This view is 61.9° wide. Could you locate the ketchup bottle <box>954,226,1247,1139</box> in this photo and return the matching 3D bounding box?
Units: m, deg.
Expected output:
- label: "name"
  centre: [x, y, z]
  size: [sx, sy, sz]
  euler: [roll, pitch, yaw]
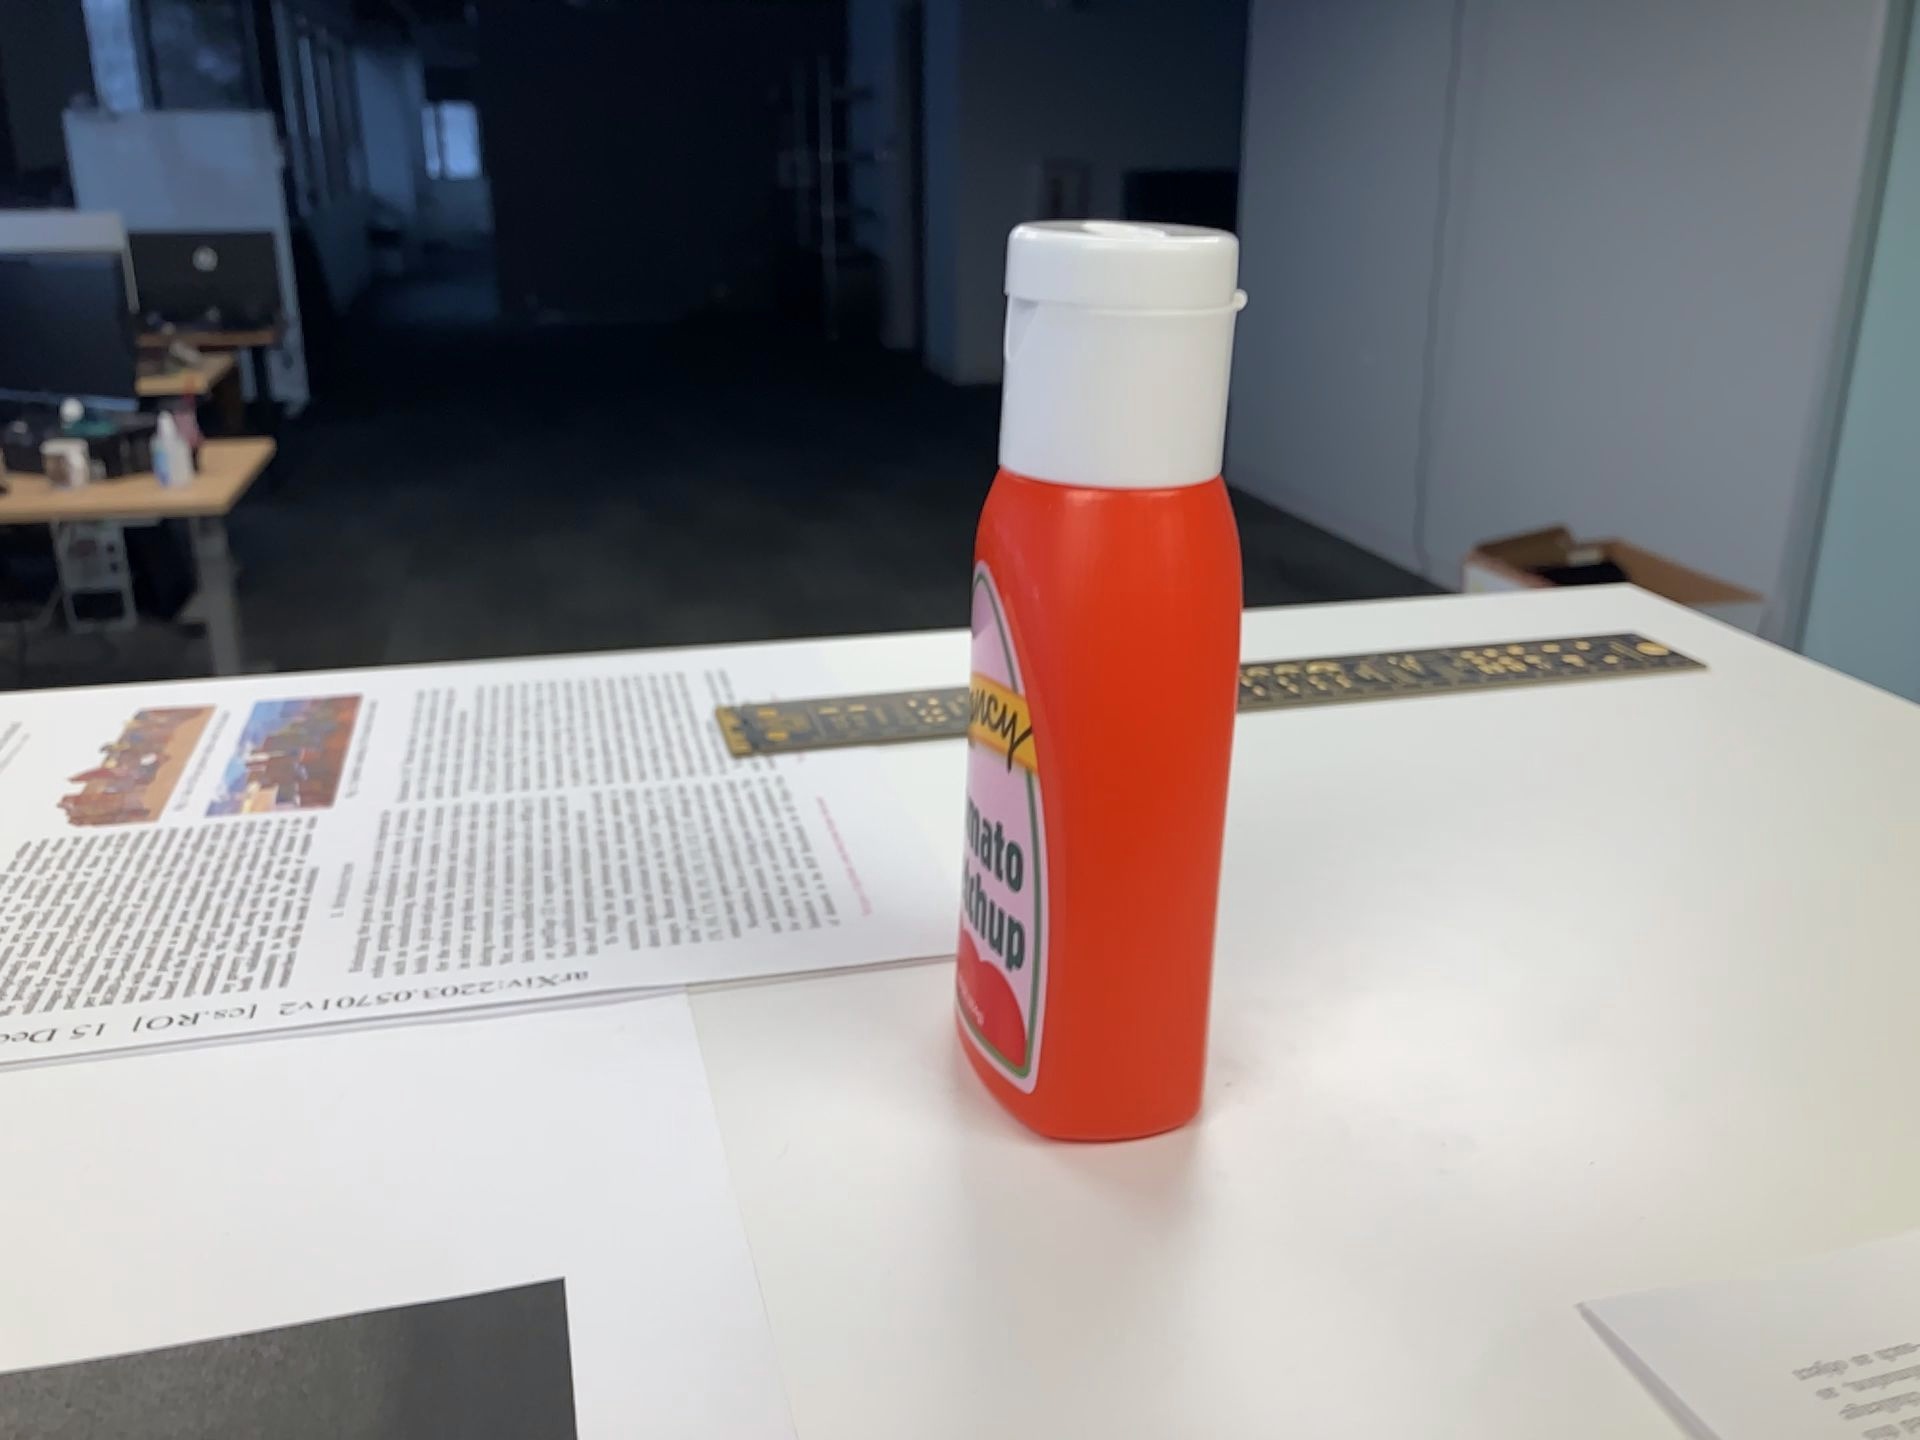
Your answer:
- label: "ketchup bottle"
  centre: [0.024, -0.007, 0.276]
  size: [0.043, 0.149, 0.065]
  euler: [-3, 20, -14]
